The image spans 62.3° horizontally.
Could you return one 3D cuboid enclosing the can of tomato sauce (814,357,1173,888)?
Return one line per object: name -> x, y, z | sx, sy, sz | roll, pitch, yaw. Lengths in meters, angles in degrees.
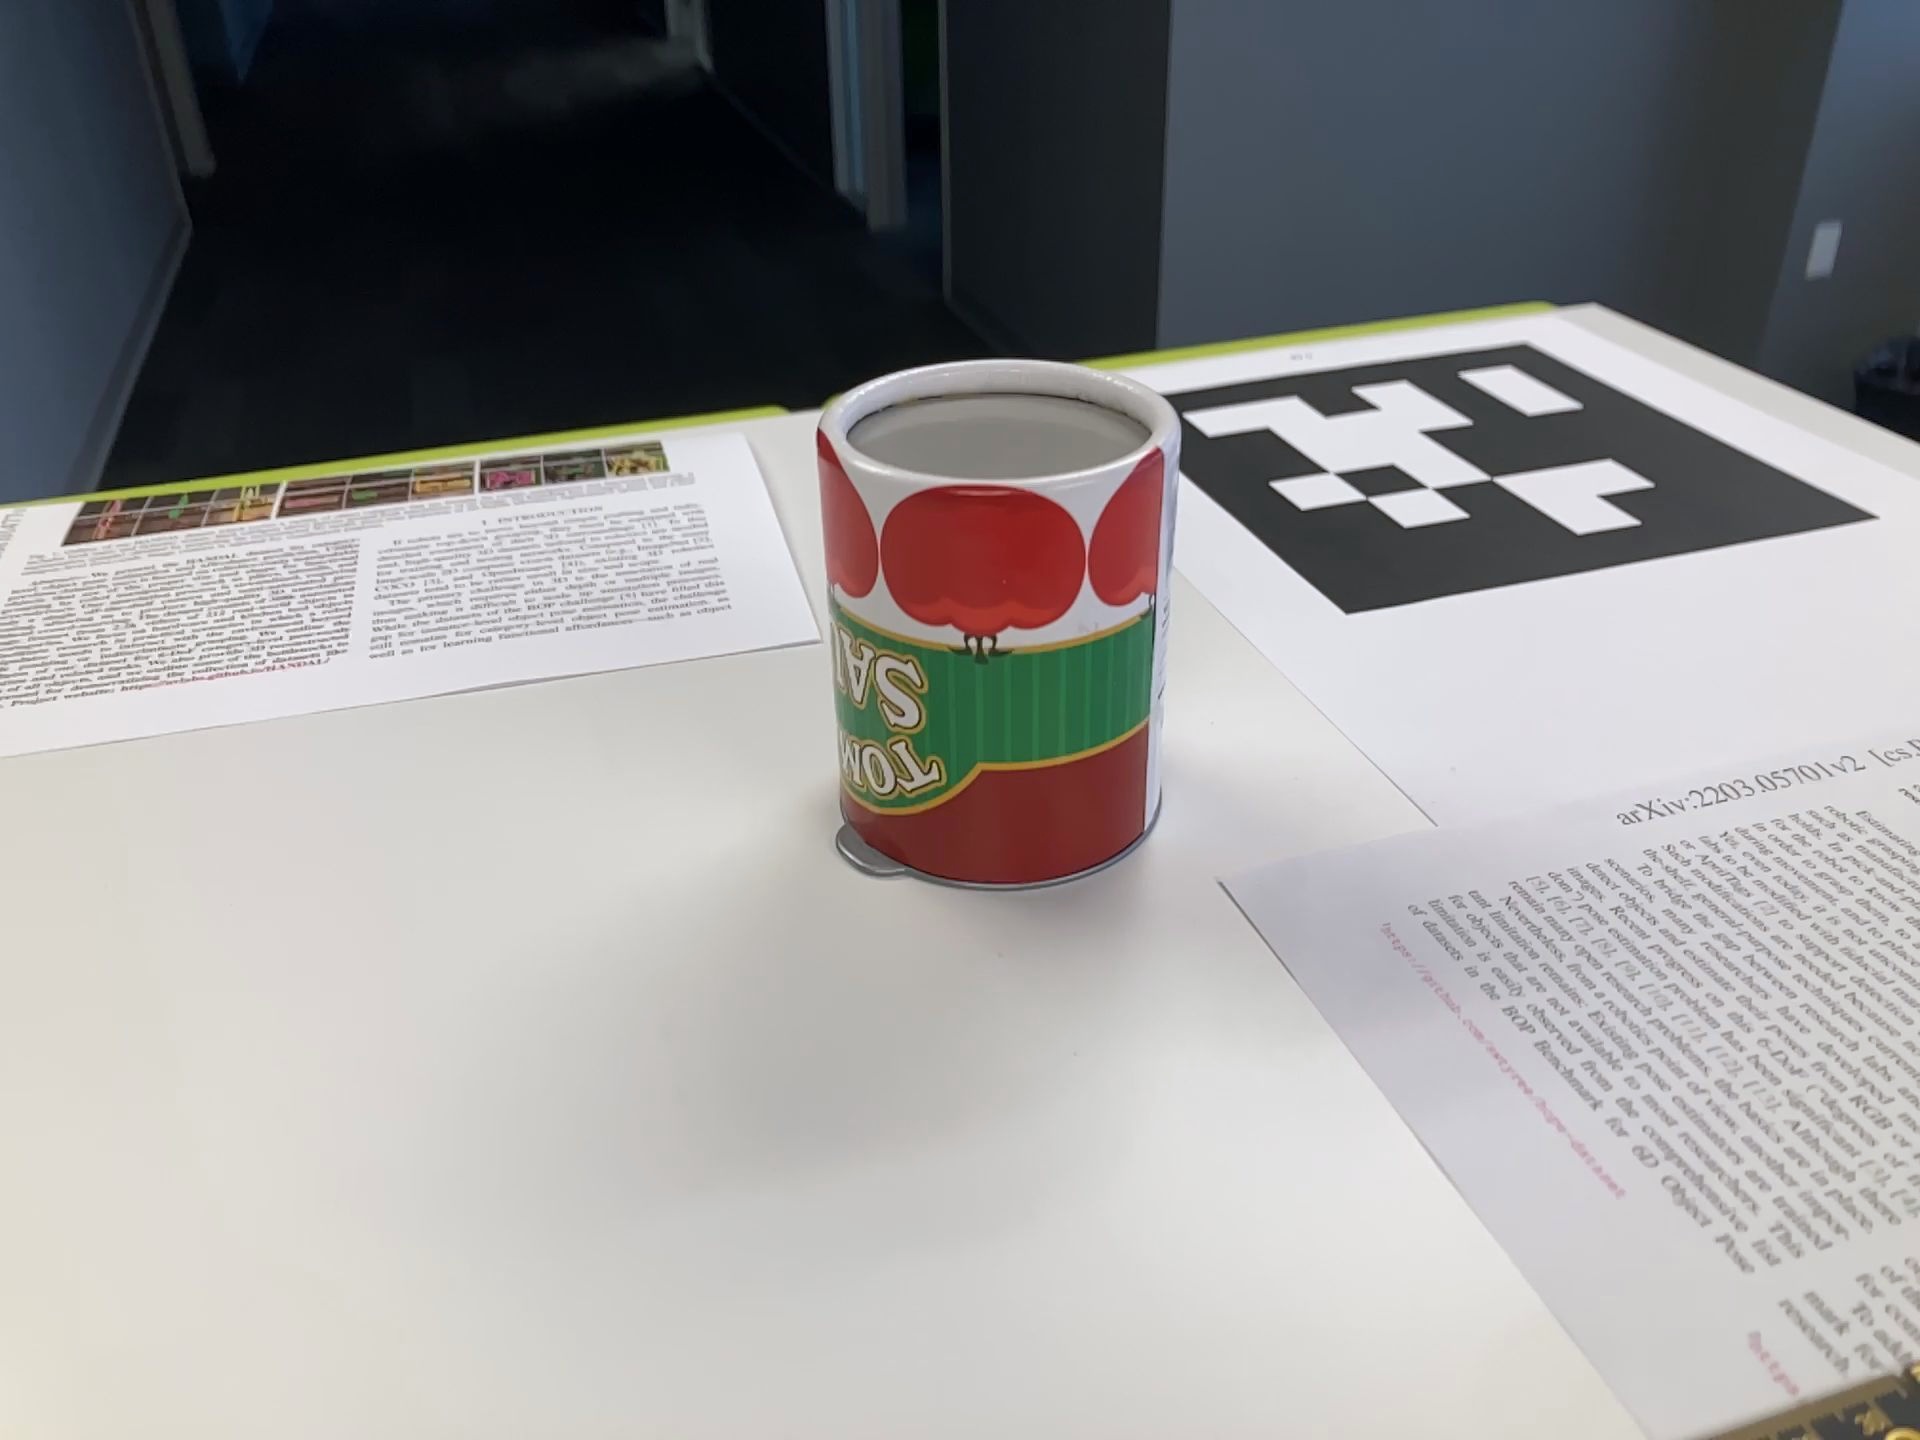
can of tomato sauce -> 0.005, -0.020, 0.310 | 0.071, 0.083, 0.071 | -1, 33, 1
